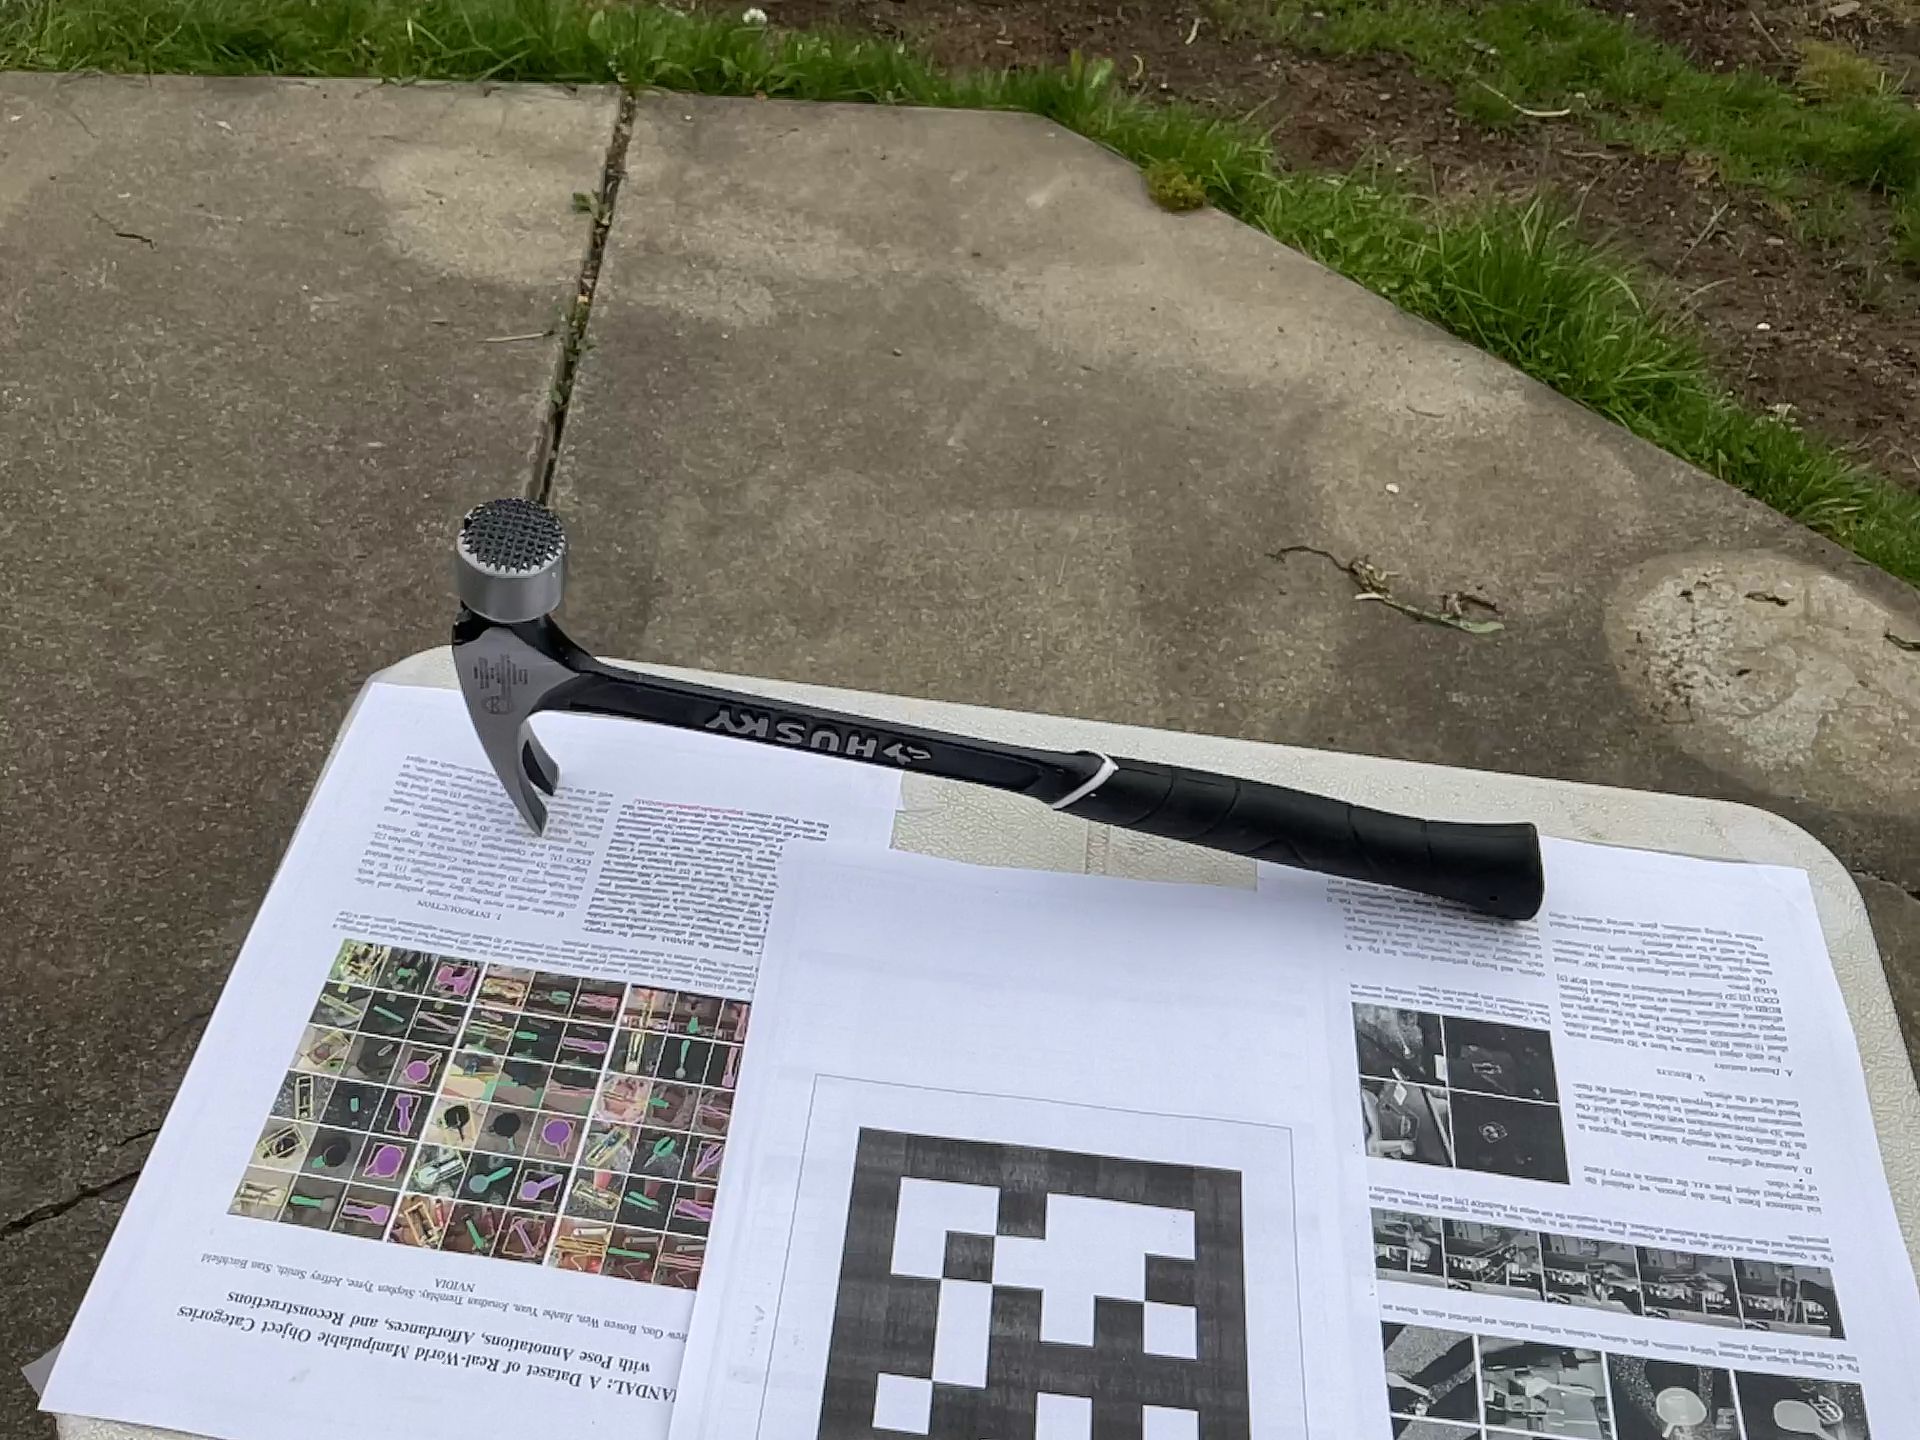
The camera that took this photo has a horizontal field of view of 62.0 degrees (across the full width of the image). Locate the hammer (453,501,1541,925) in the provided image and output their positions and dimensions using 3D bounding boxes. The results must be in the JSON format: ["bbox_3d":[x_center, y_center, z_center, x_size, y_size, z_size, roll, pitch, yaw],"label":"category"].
[{"bbox_3d":[0.022,0.024,0.587,0.409,0.149,0.036,12,50,-7],"label":"hammer"}]
